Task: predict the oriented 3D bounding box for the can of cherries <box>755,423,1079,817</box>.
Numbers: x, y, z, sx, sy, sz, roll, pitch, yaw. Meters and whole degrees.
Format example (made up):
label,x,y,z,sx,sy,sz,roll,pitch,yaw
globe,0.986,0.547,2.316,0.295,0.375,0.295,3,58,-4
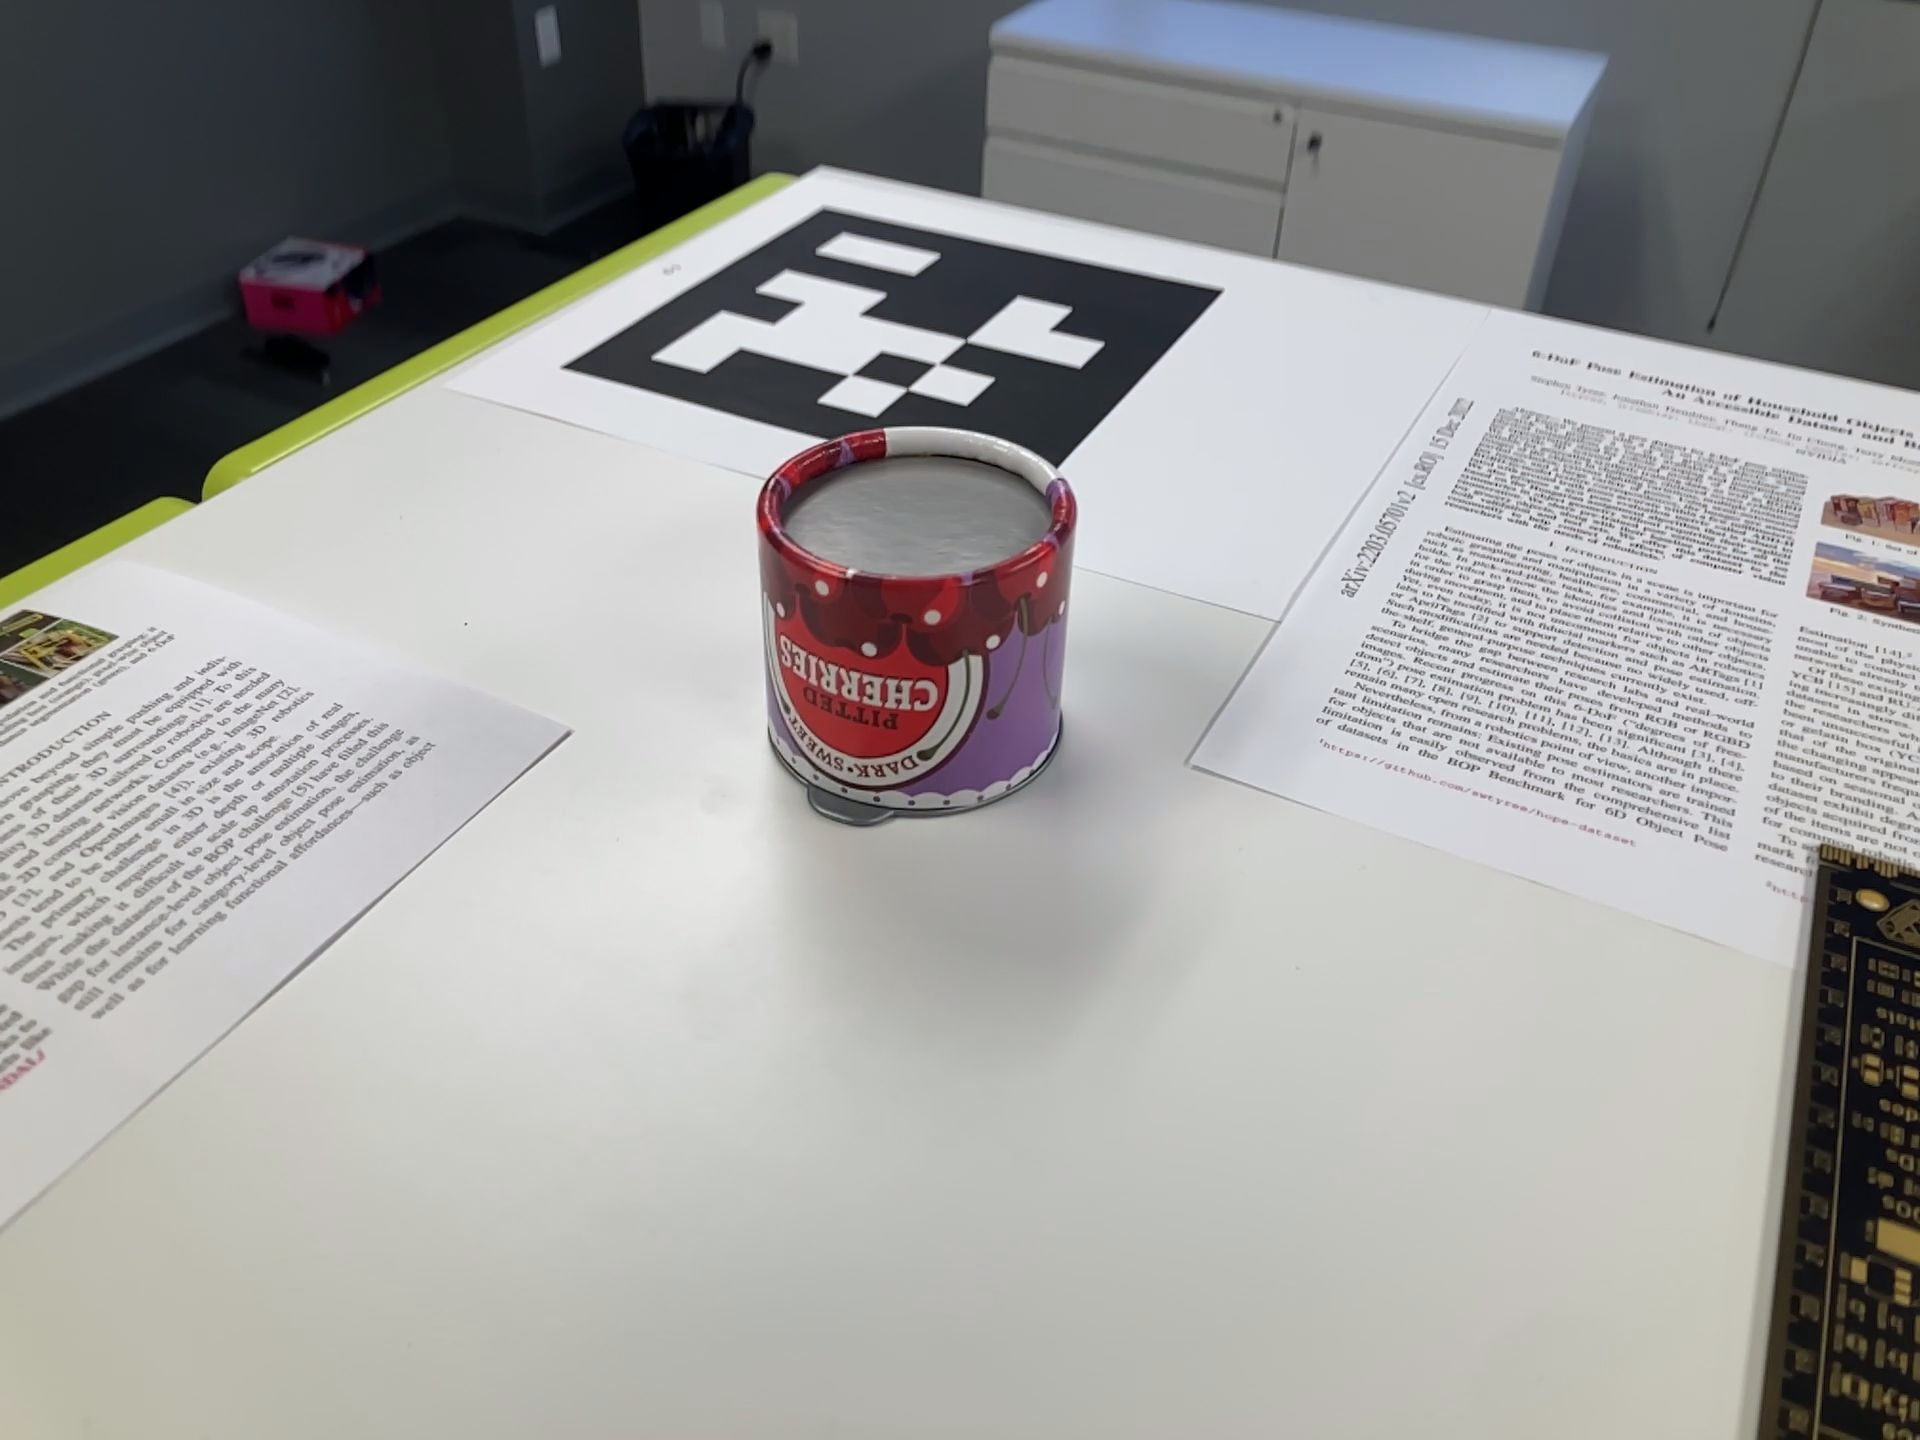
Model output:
label,x,y,z,sx,sy,sz,roll,pitch,yaw
can of cherries,-0.010,-0.021,0.333,0.071,0.058,0.071,1,38,-1
